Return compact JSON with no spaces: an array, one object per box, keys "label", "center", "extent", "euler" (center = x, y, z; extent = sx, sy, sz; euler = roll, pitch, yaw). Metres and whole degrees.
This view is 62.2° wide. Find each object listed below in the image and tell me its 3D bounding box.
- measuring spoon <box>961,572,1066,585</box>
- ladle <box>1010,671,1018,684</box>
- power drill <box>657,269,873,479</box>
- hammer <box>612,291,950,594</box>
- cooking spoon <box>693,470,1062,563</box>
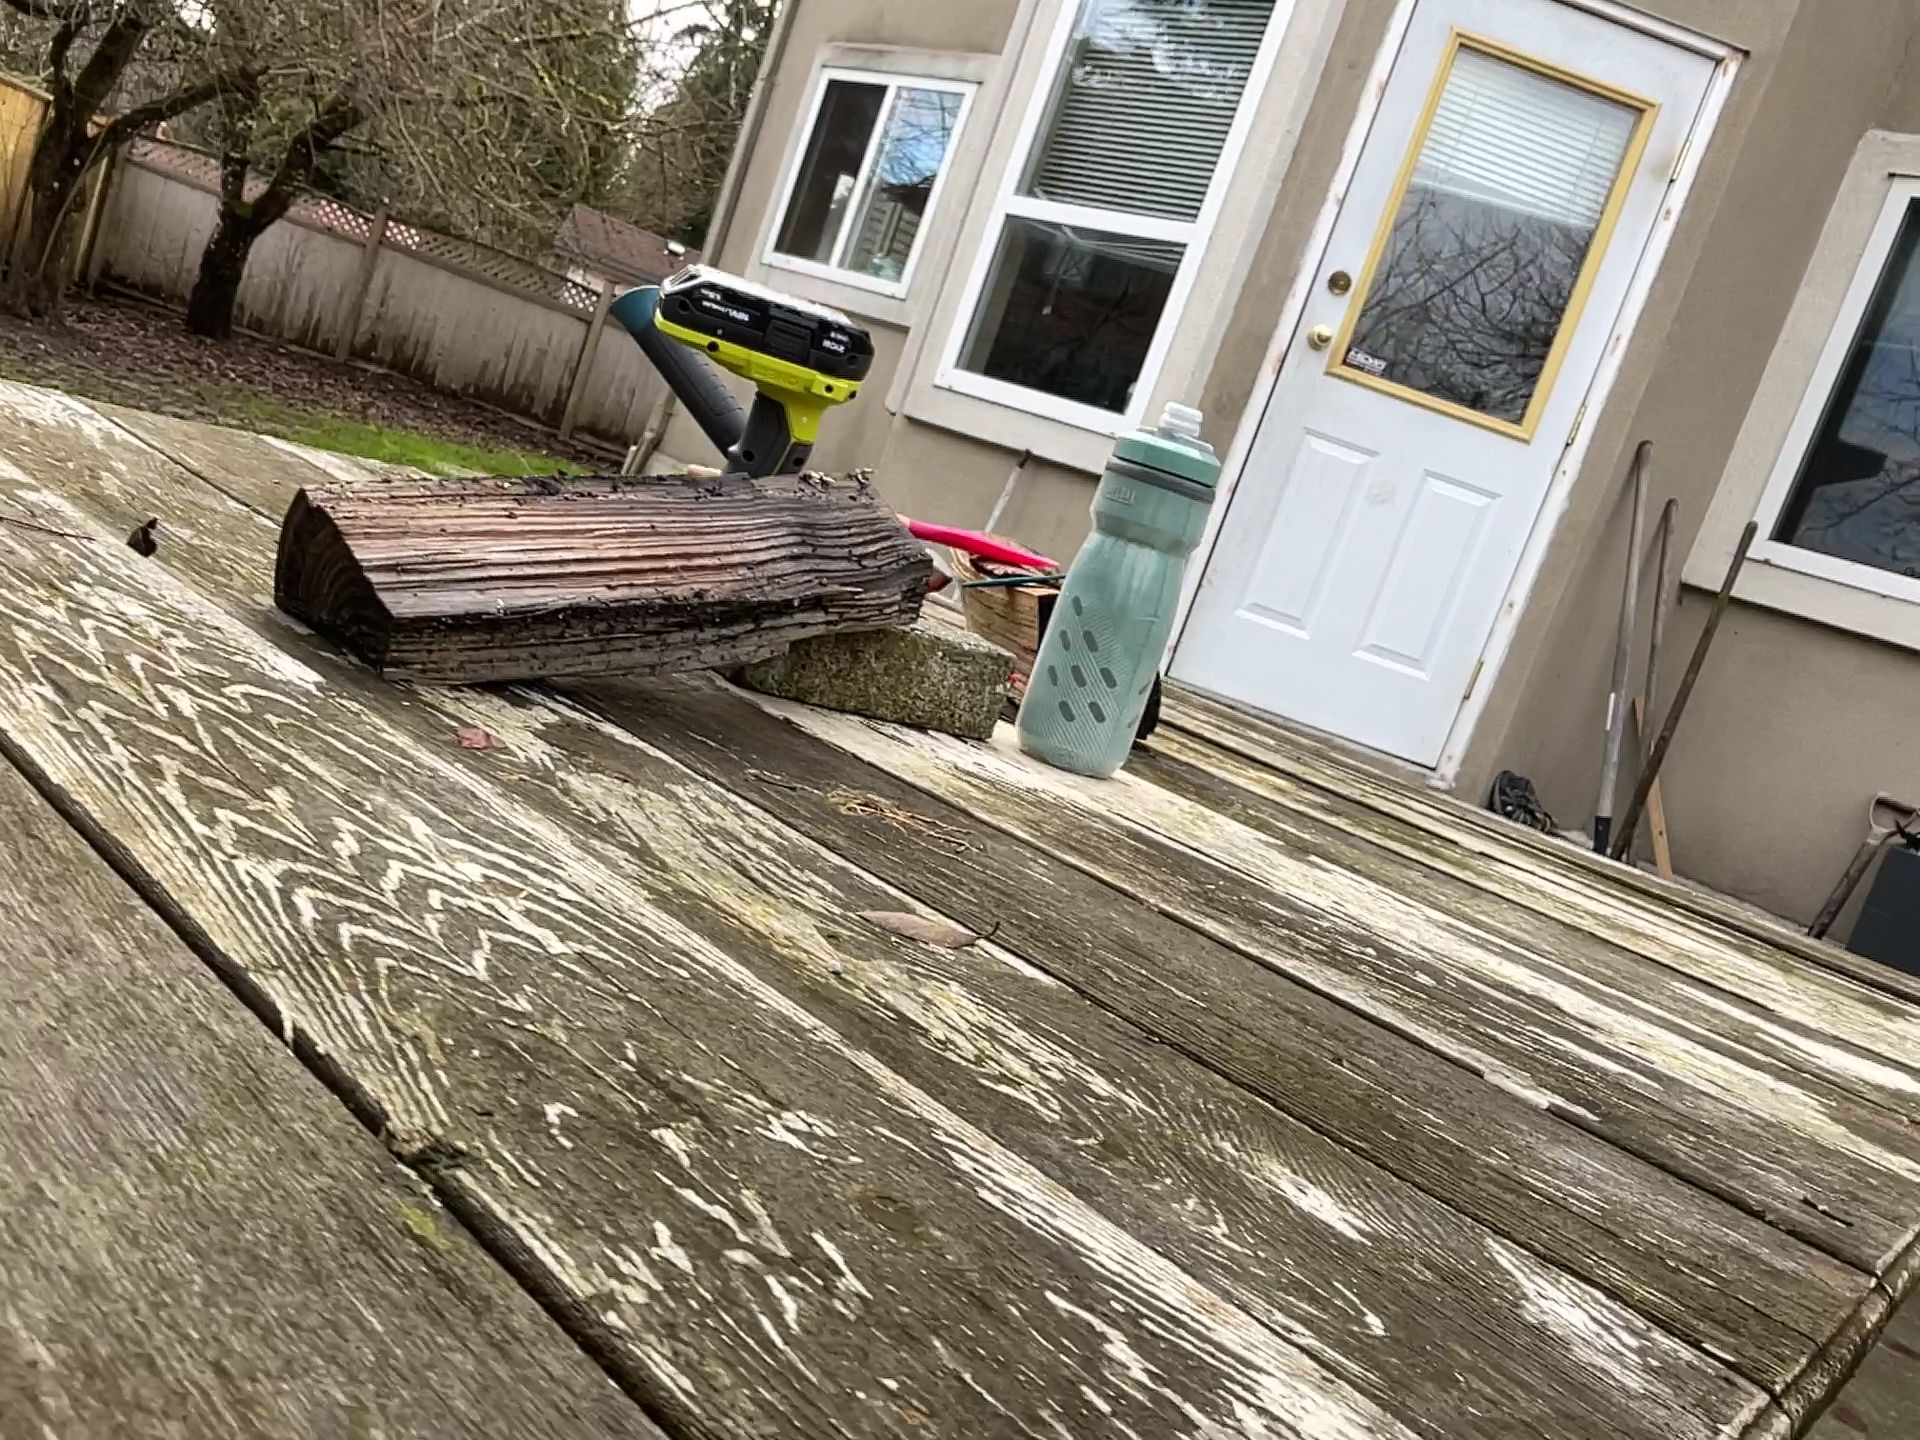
[{"label":"measuring spoon","center":[0.061,-0.100,1.204],"extent":[0.129,0.021,0.042],"euler":[-2,1,22]},{"label":"ladle","center":[-0.057,-0.063,1.238],"extent":[0.069,0.031,0.316],"euler":[9,10,-34]},{"label":"power drill","center":[-0.158,-0.166,1.028],"extent":[0.171,0.223,0.080],"euler":[14,17,-18]},{"label":"hammer","center":[-0.153,-0.193,1.197],"extent":[0.331,0.128,0.033],"euler":[53,14,9]},{"label":"cooking spoon","center":[-0.065,-0.166,1.329],"extent":[0.318,0.017,0.069],"euler":[11,11,-16]}]
